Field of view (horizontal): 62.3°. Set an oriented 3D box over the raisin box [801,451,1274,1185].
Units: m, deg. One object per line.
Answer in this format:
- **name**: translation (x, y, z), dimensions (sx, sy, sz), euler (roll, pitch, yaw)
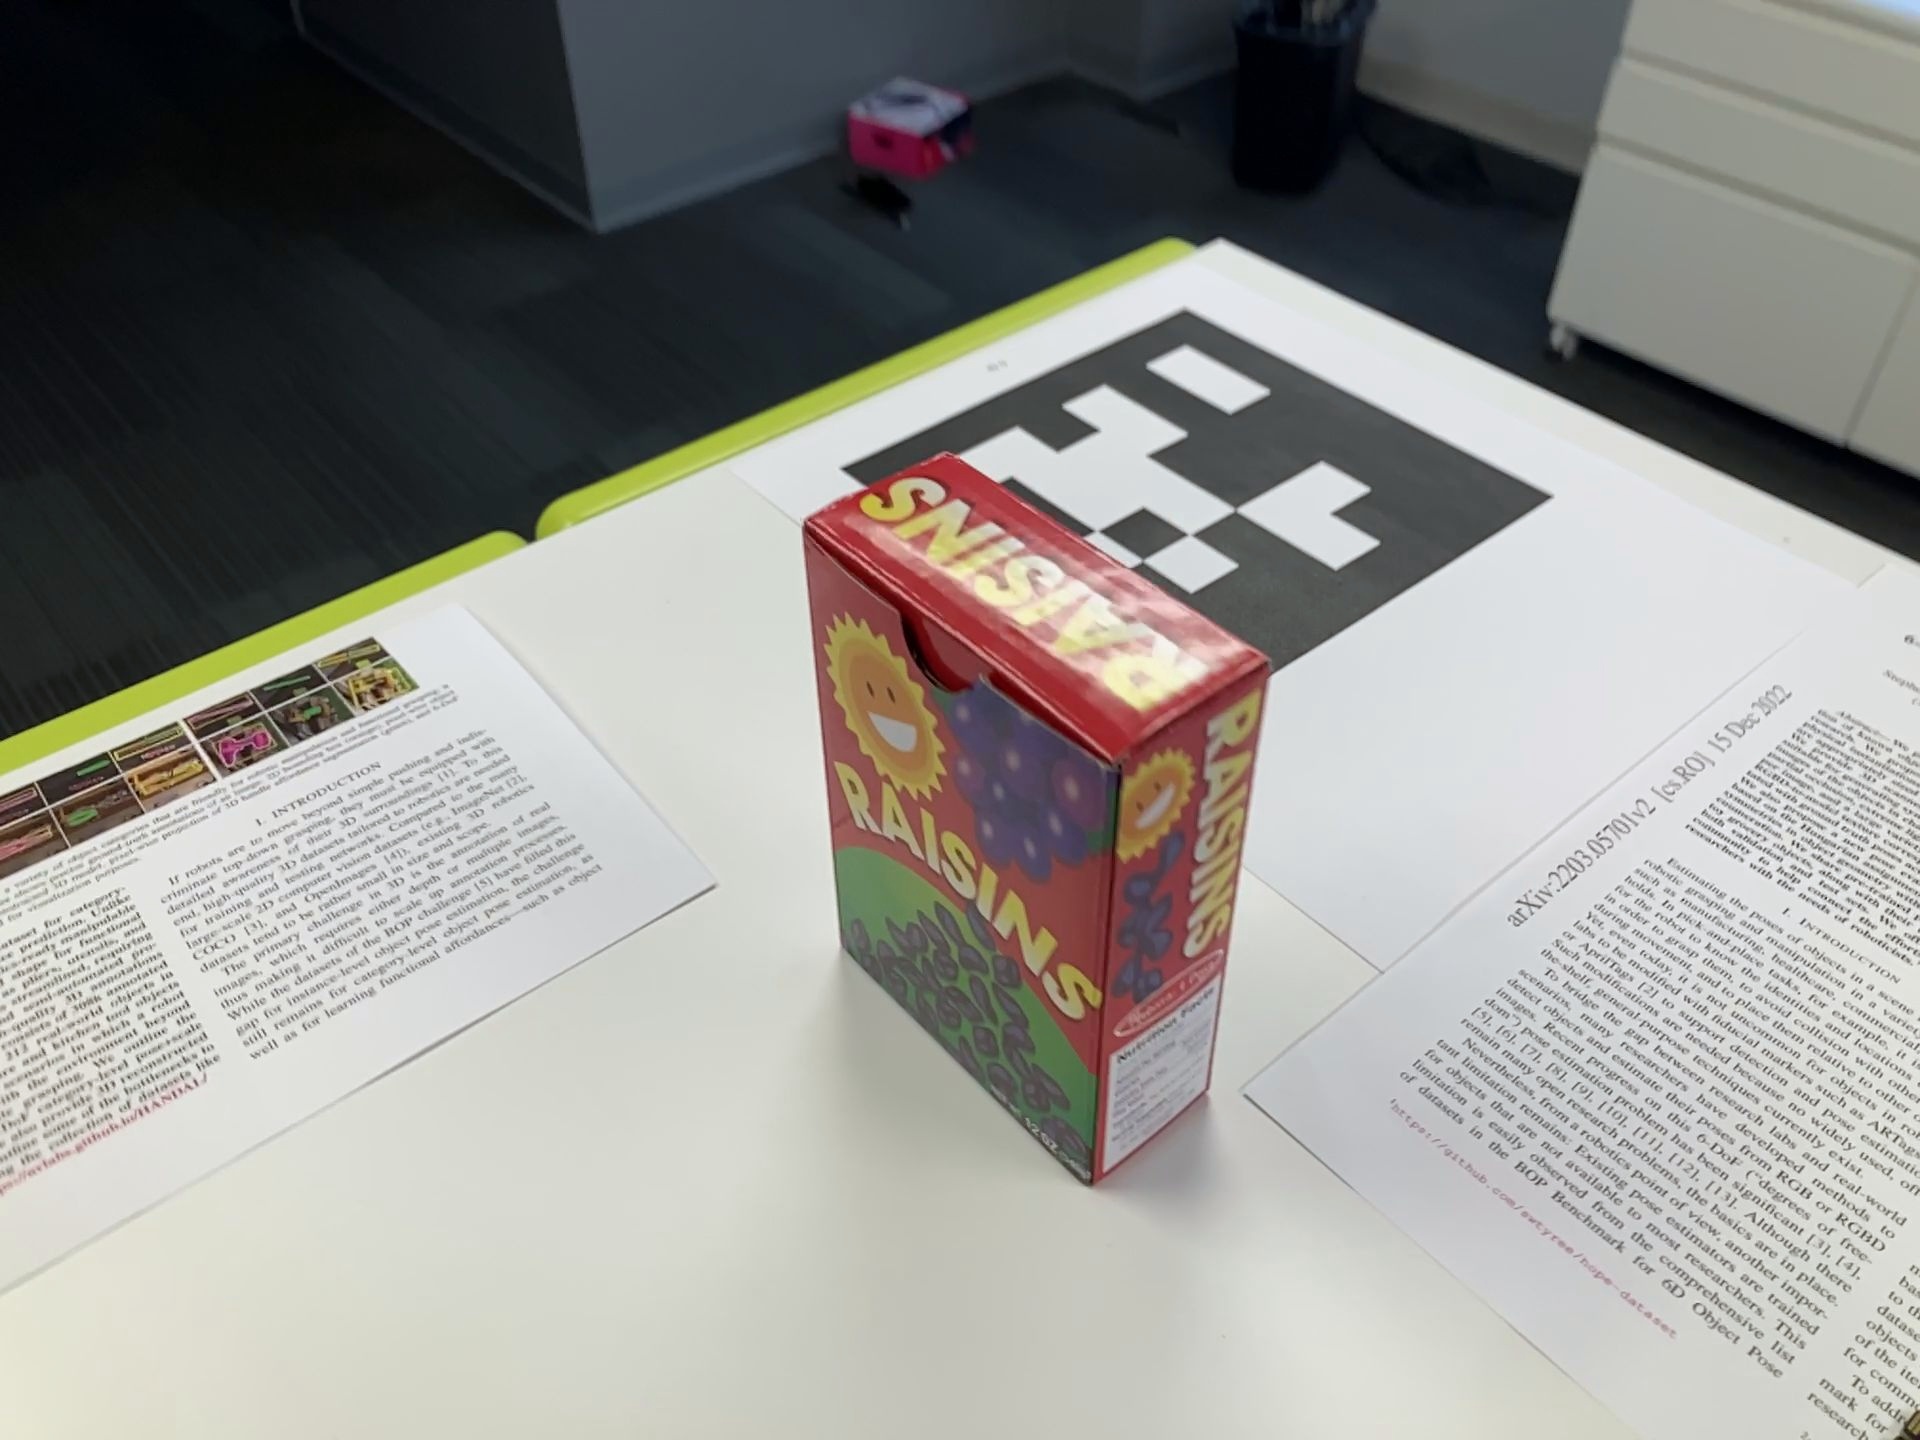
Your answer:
- **raisin box**: translation (0.011, 0.021, 0.313), dimensions (0.040, 0.123, 0.086), euler (-29, 50, -27)
